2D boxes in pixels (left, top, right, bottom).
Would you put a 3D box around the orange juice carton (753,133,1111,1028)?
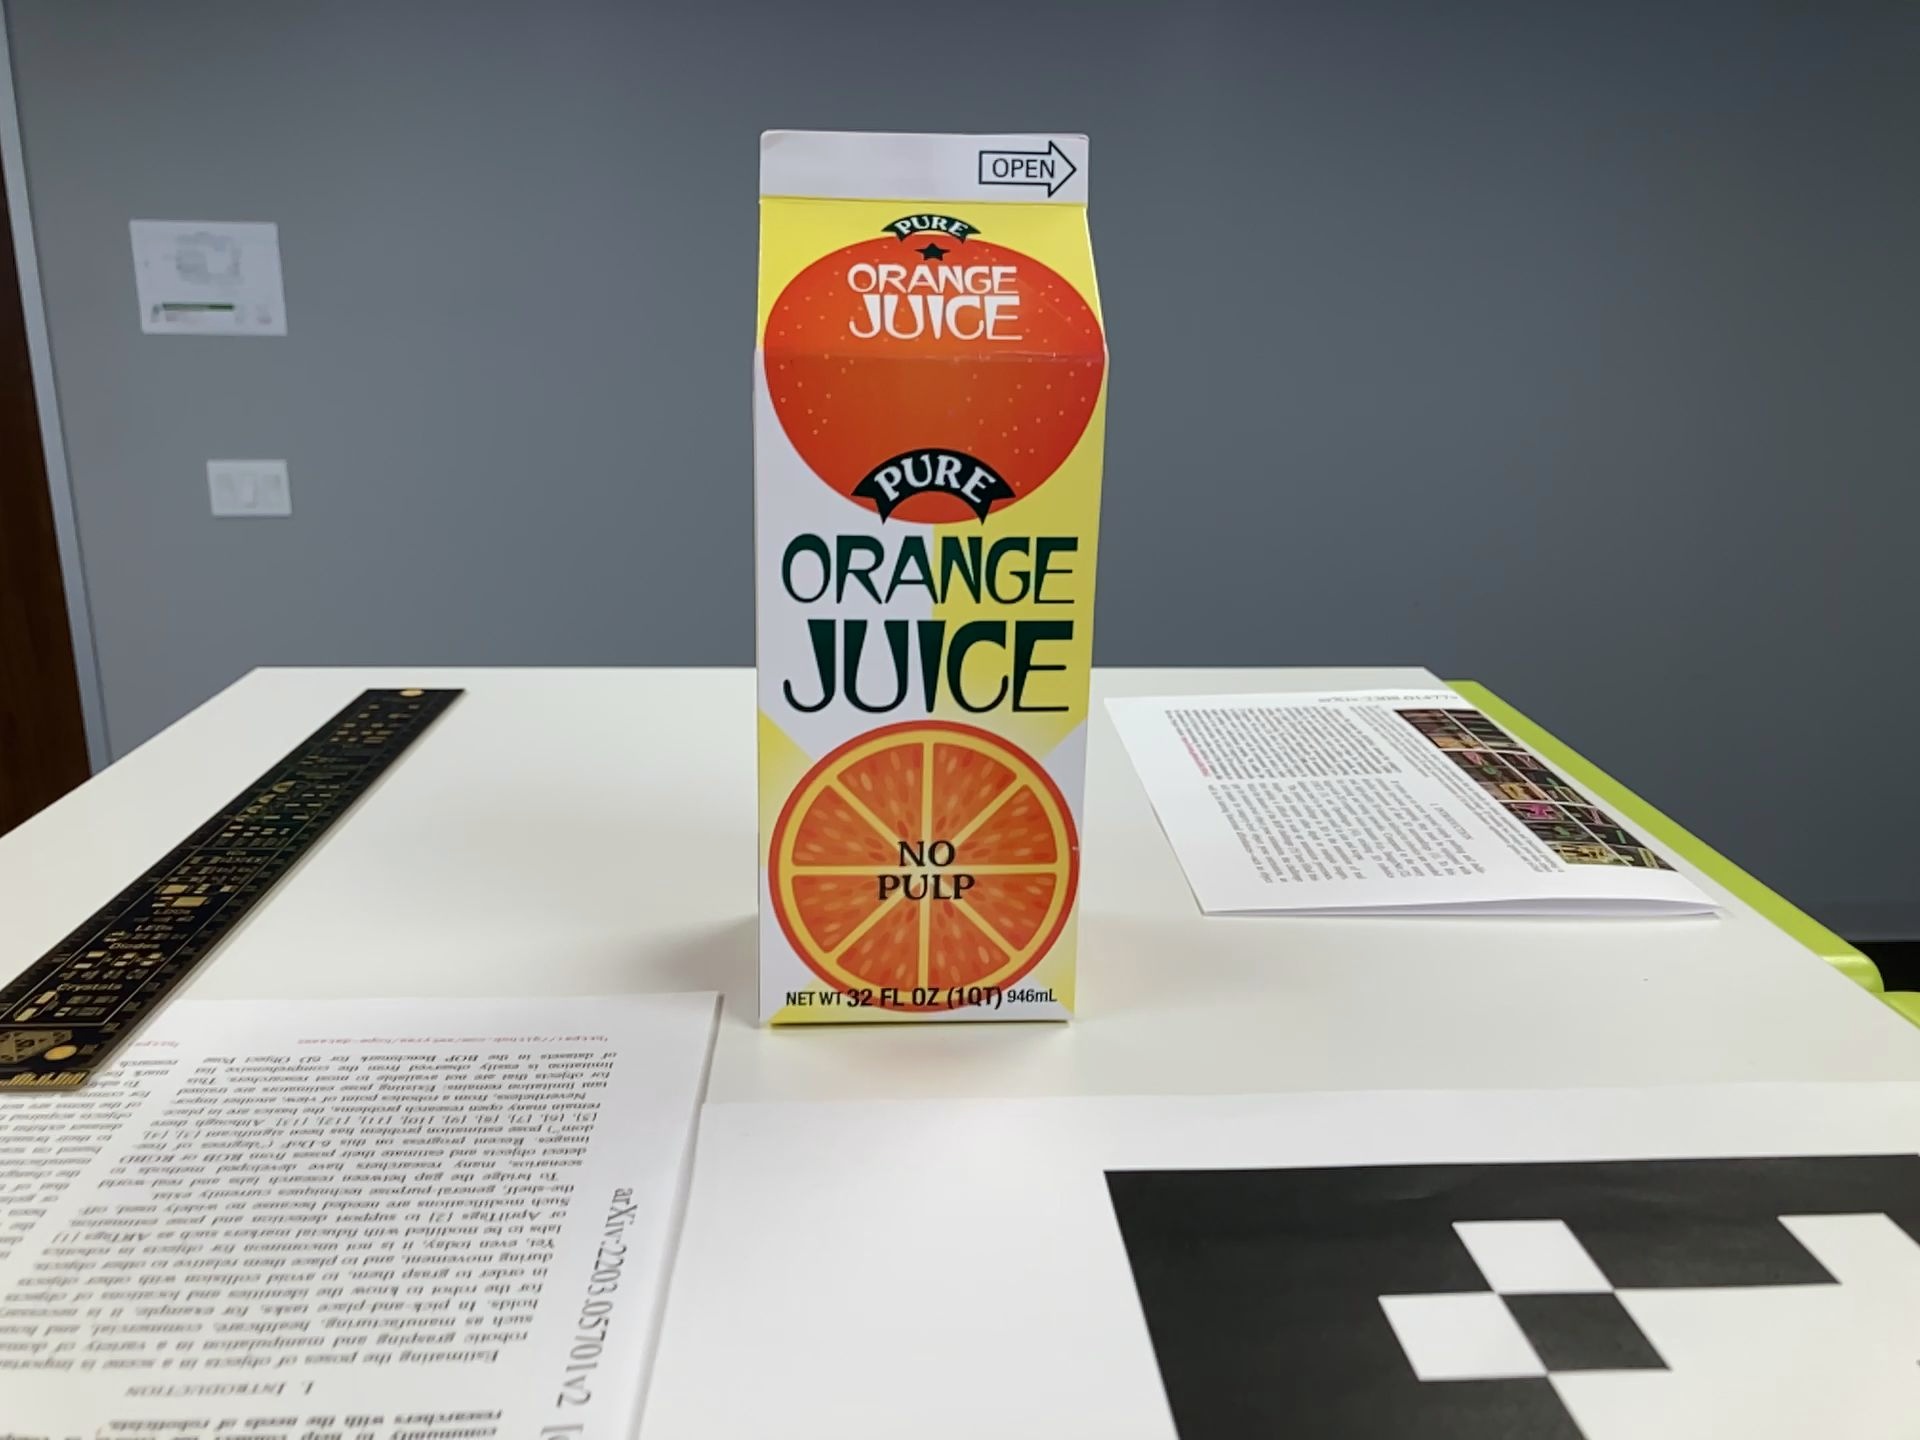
[{"bbox_3d":[-0.009,-0.031,0.362,0.072,0.192,0.073,0,17,-5],"label":"orange juice carton"}]
